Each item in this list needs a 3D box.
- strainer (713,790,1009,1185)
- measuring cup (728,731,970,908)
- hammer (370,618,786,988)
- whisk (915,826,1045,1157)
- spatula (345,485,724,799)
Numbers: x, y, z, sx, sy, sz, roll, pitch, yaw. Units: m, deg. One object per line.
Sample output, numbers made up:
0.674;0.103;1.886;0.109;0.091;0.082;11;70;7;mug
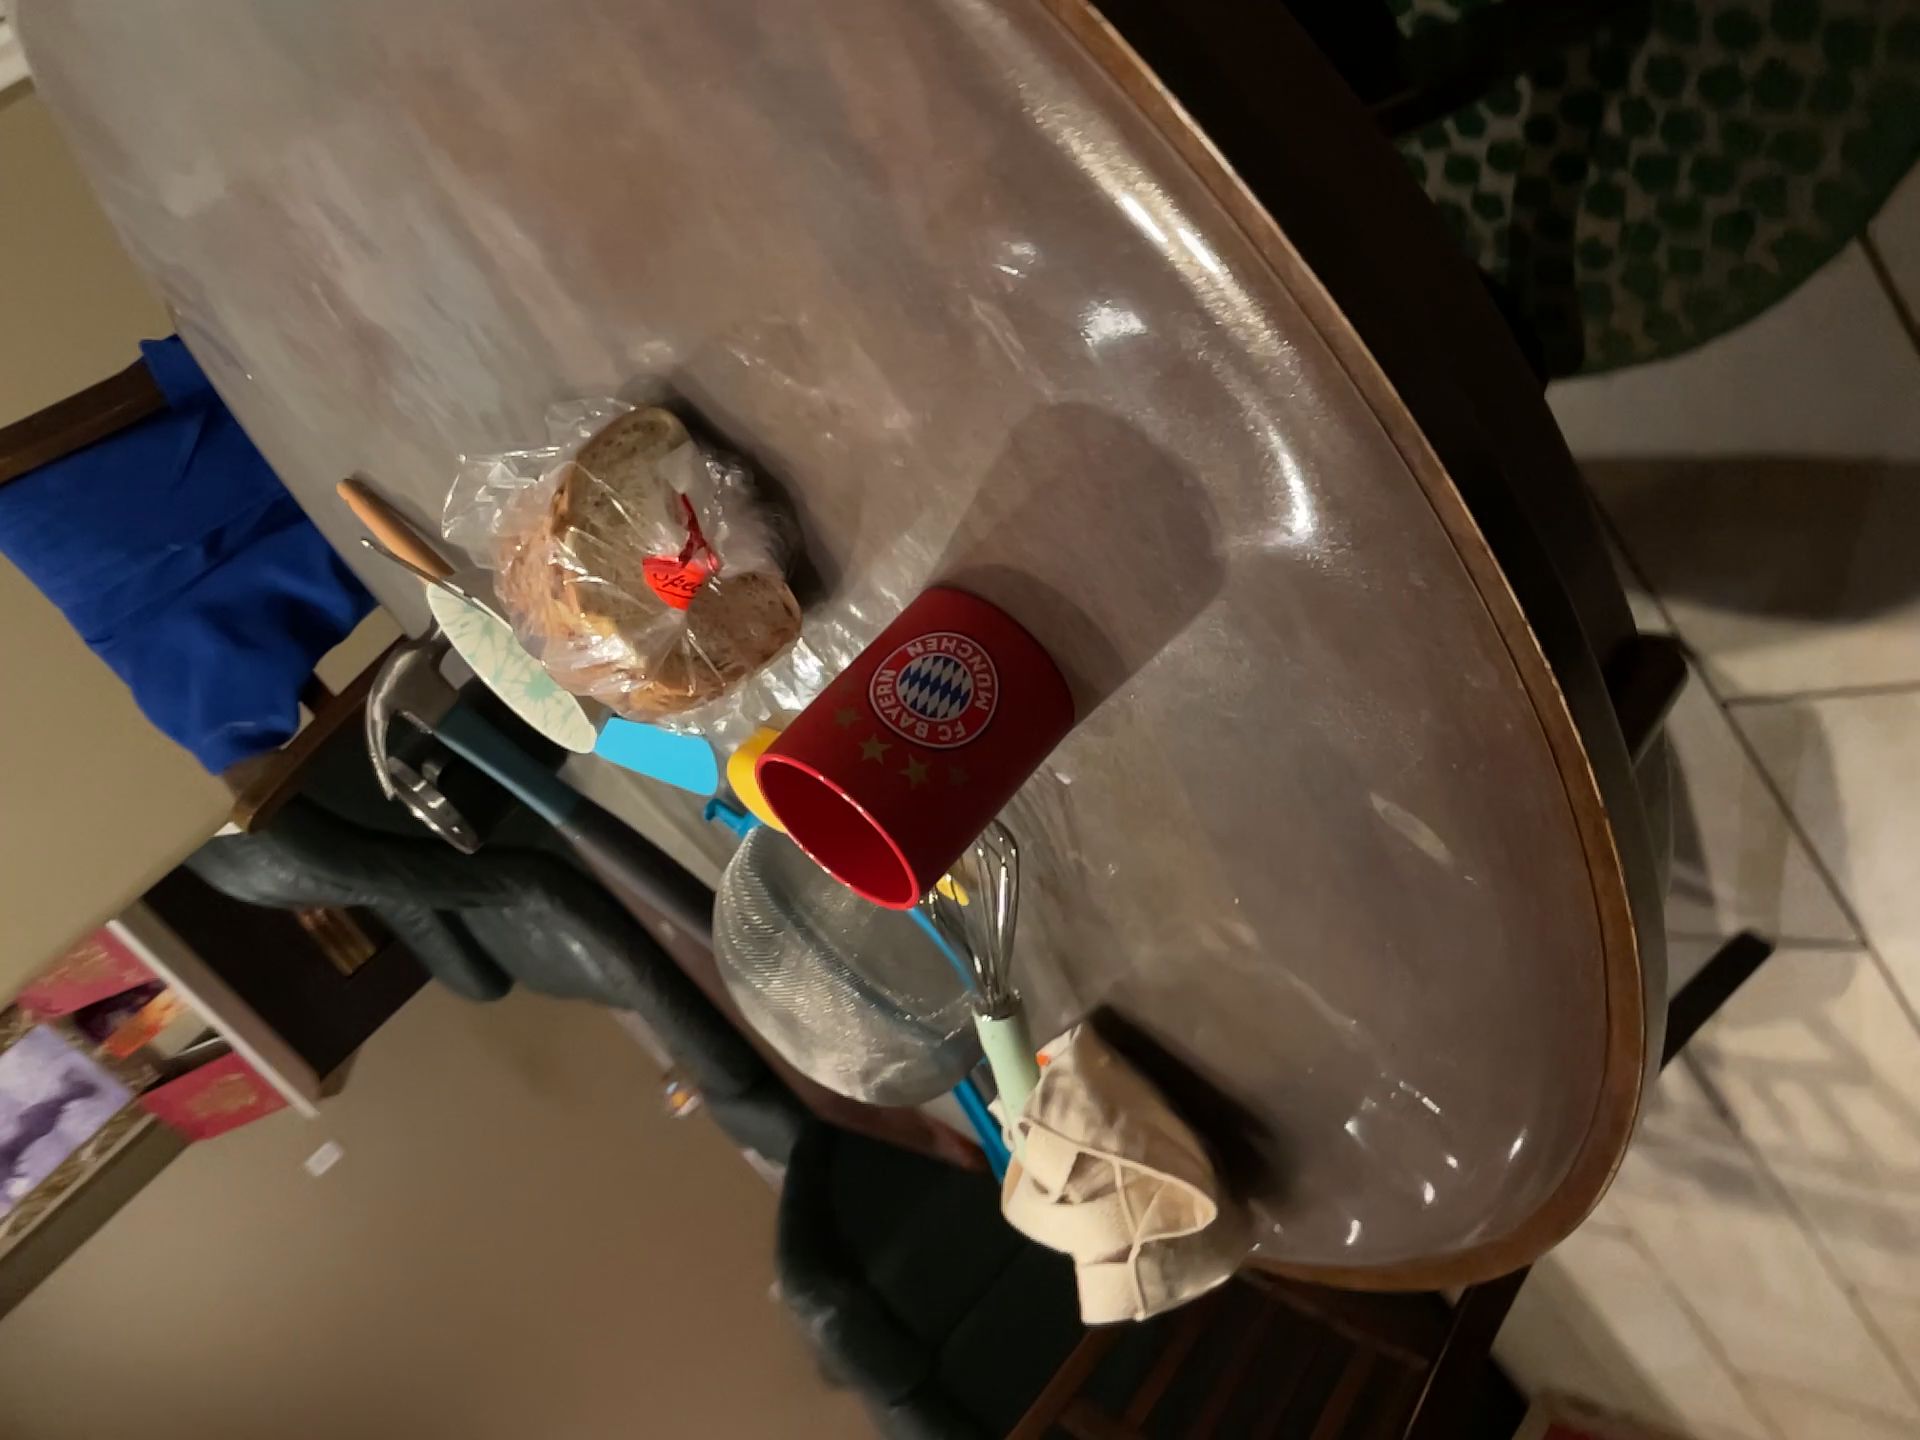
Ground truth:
-0.051;0.203;0.976;0.211;0.095;0.340;14;138;49;strainer
-0.062;0.061;0.838;0.156;0.029;0.062;34;154;24;measuring cup
-0.249;0.067;1.075;0.331;0.128;0.033;39;160;-12;hammer
0.016;0.135;0.781;0.059;0.058;0.246;-3;127;18;whisk
-0.272;-0.054;0.995;0.317;0.044;0.082;41;157;16;spatula
